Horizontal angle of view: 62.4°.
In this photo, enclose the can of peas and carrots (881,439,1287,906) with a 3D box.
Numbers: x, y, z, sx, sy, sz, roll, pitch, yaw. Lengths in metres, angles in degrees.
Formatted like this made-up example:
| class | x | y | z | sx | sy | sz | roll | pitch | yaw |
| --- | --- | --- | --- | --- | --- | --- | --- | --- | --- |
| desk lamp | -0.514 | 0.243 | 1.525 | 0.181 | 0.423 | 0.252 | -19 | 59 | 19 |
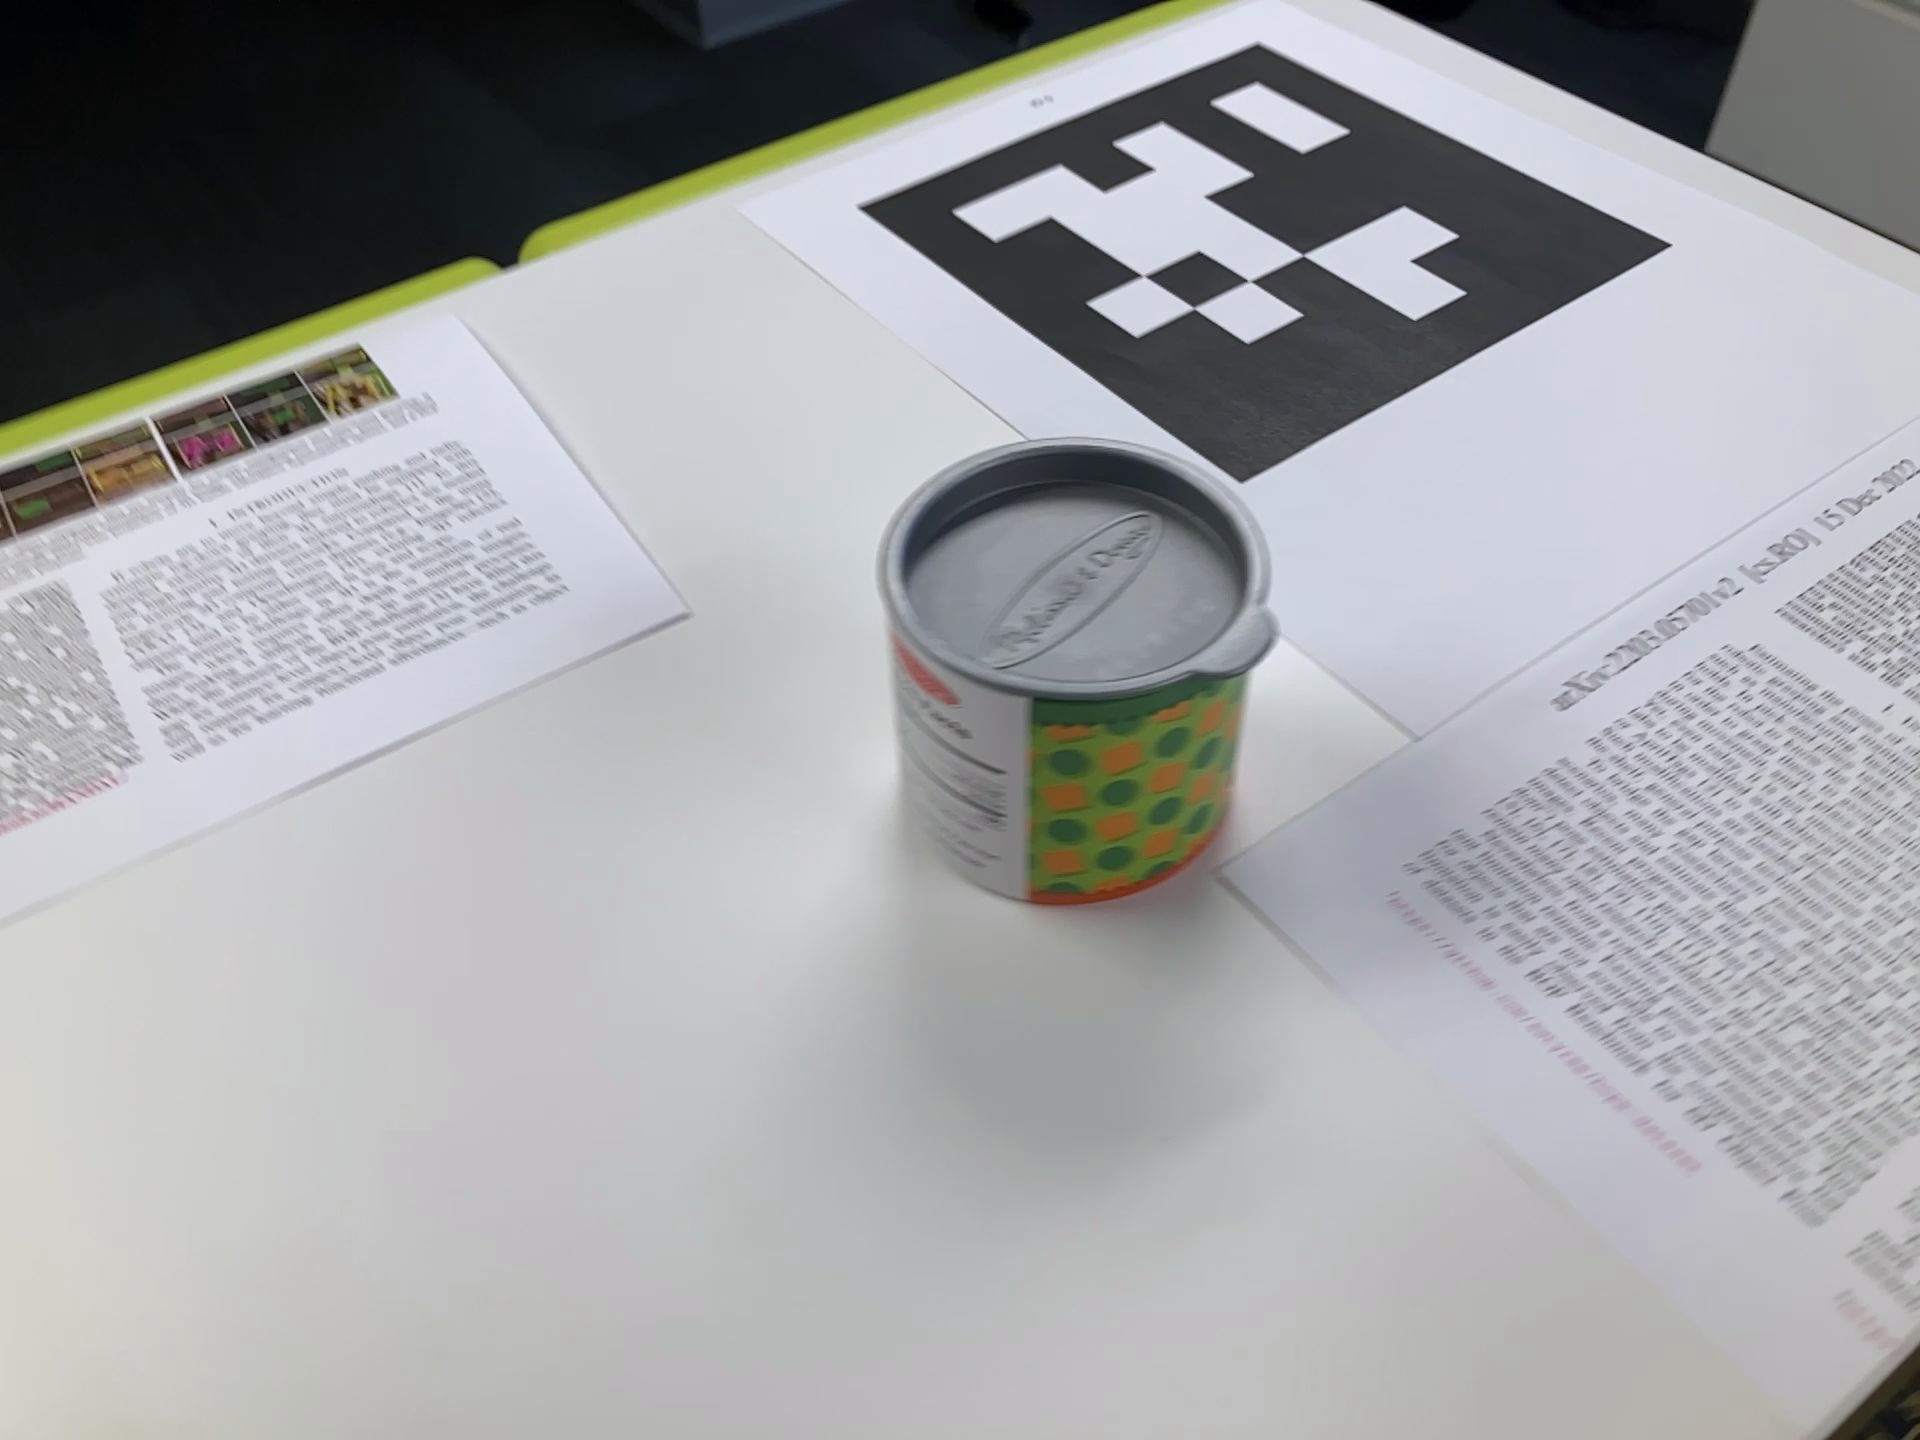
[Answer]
| class | x | y | z | sx | sy | sz | roll | pitch | yaw |
| --- | --- | --- | --- | --- | --- | --- | --- | --- | --- |
| can of peas and carrots | 0.023 | -0.009 | 0.292 | 0.071 | 0.059 | 0.071 | -1 | 48 | 1 |
